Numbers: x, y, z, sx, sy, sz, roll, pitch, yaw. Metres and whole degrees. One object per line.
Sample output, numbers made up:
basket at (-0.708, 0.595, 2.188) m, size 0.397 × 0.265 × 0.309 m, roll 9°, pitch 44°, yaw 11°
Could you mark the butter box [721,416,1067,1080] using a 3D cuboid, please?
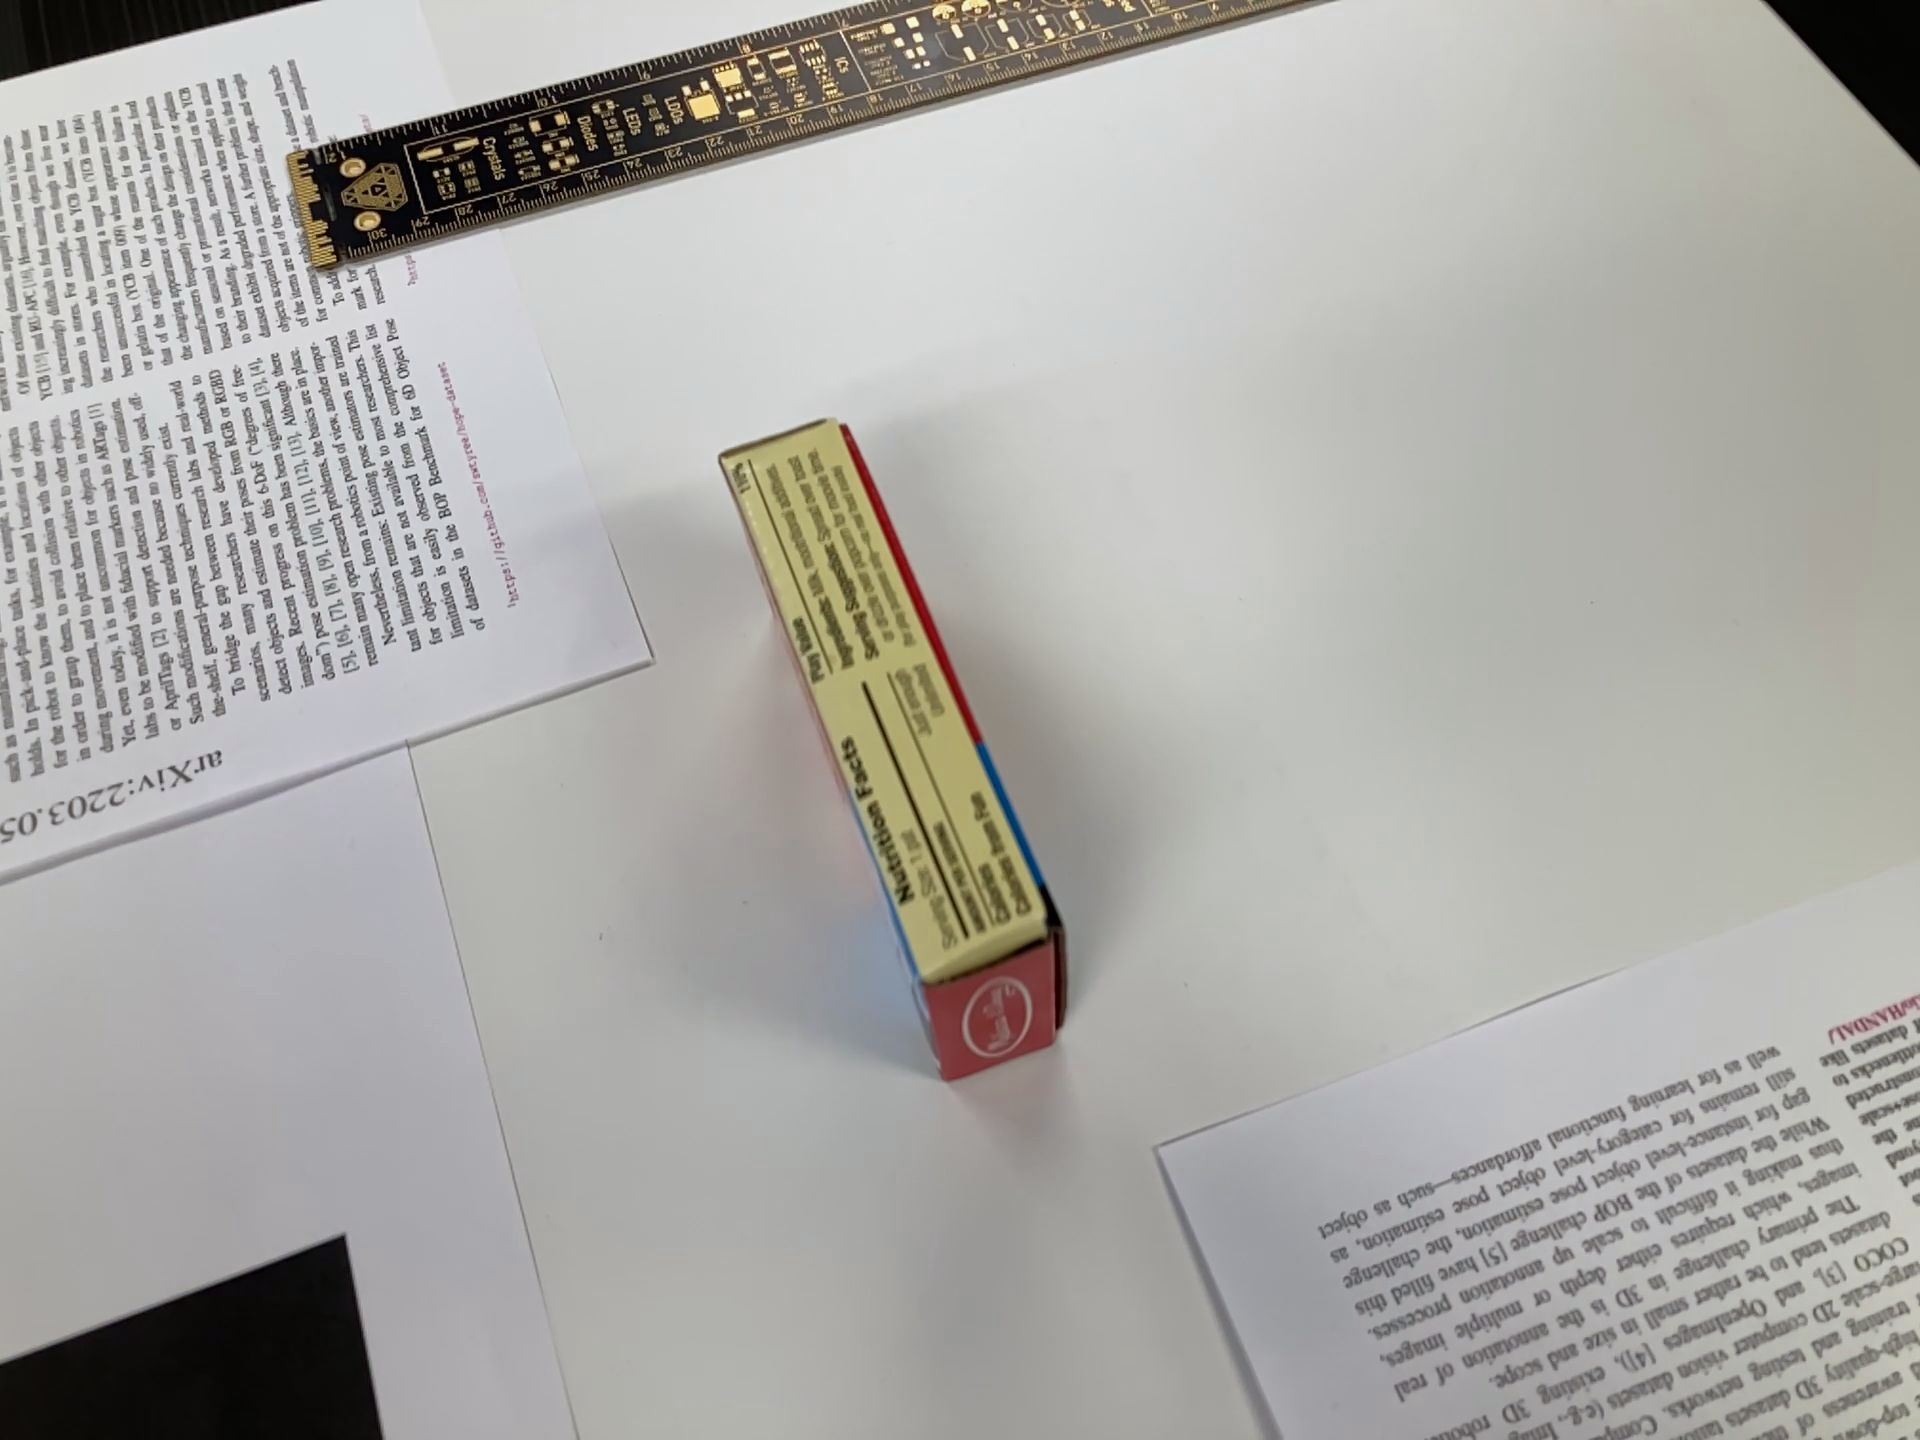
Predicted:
butter box at (-0.011, 0.004, 0.268) m, size 0.024 × 0.053 × 0.103 m, roll -20°, pitch 63°, yaw -6°
